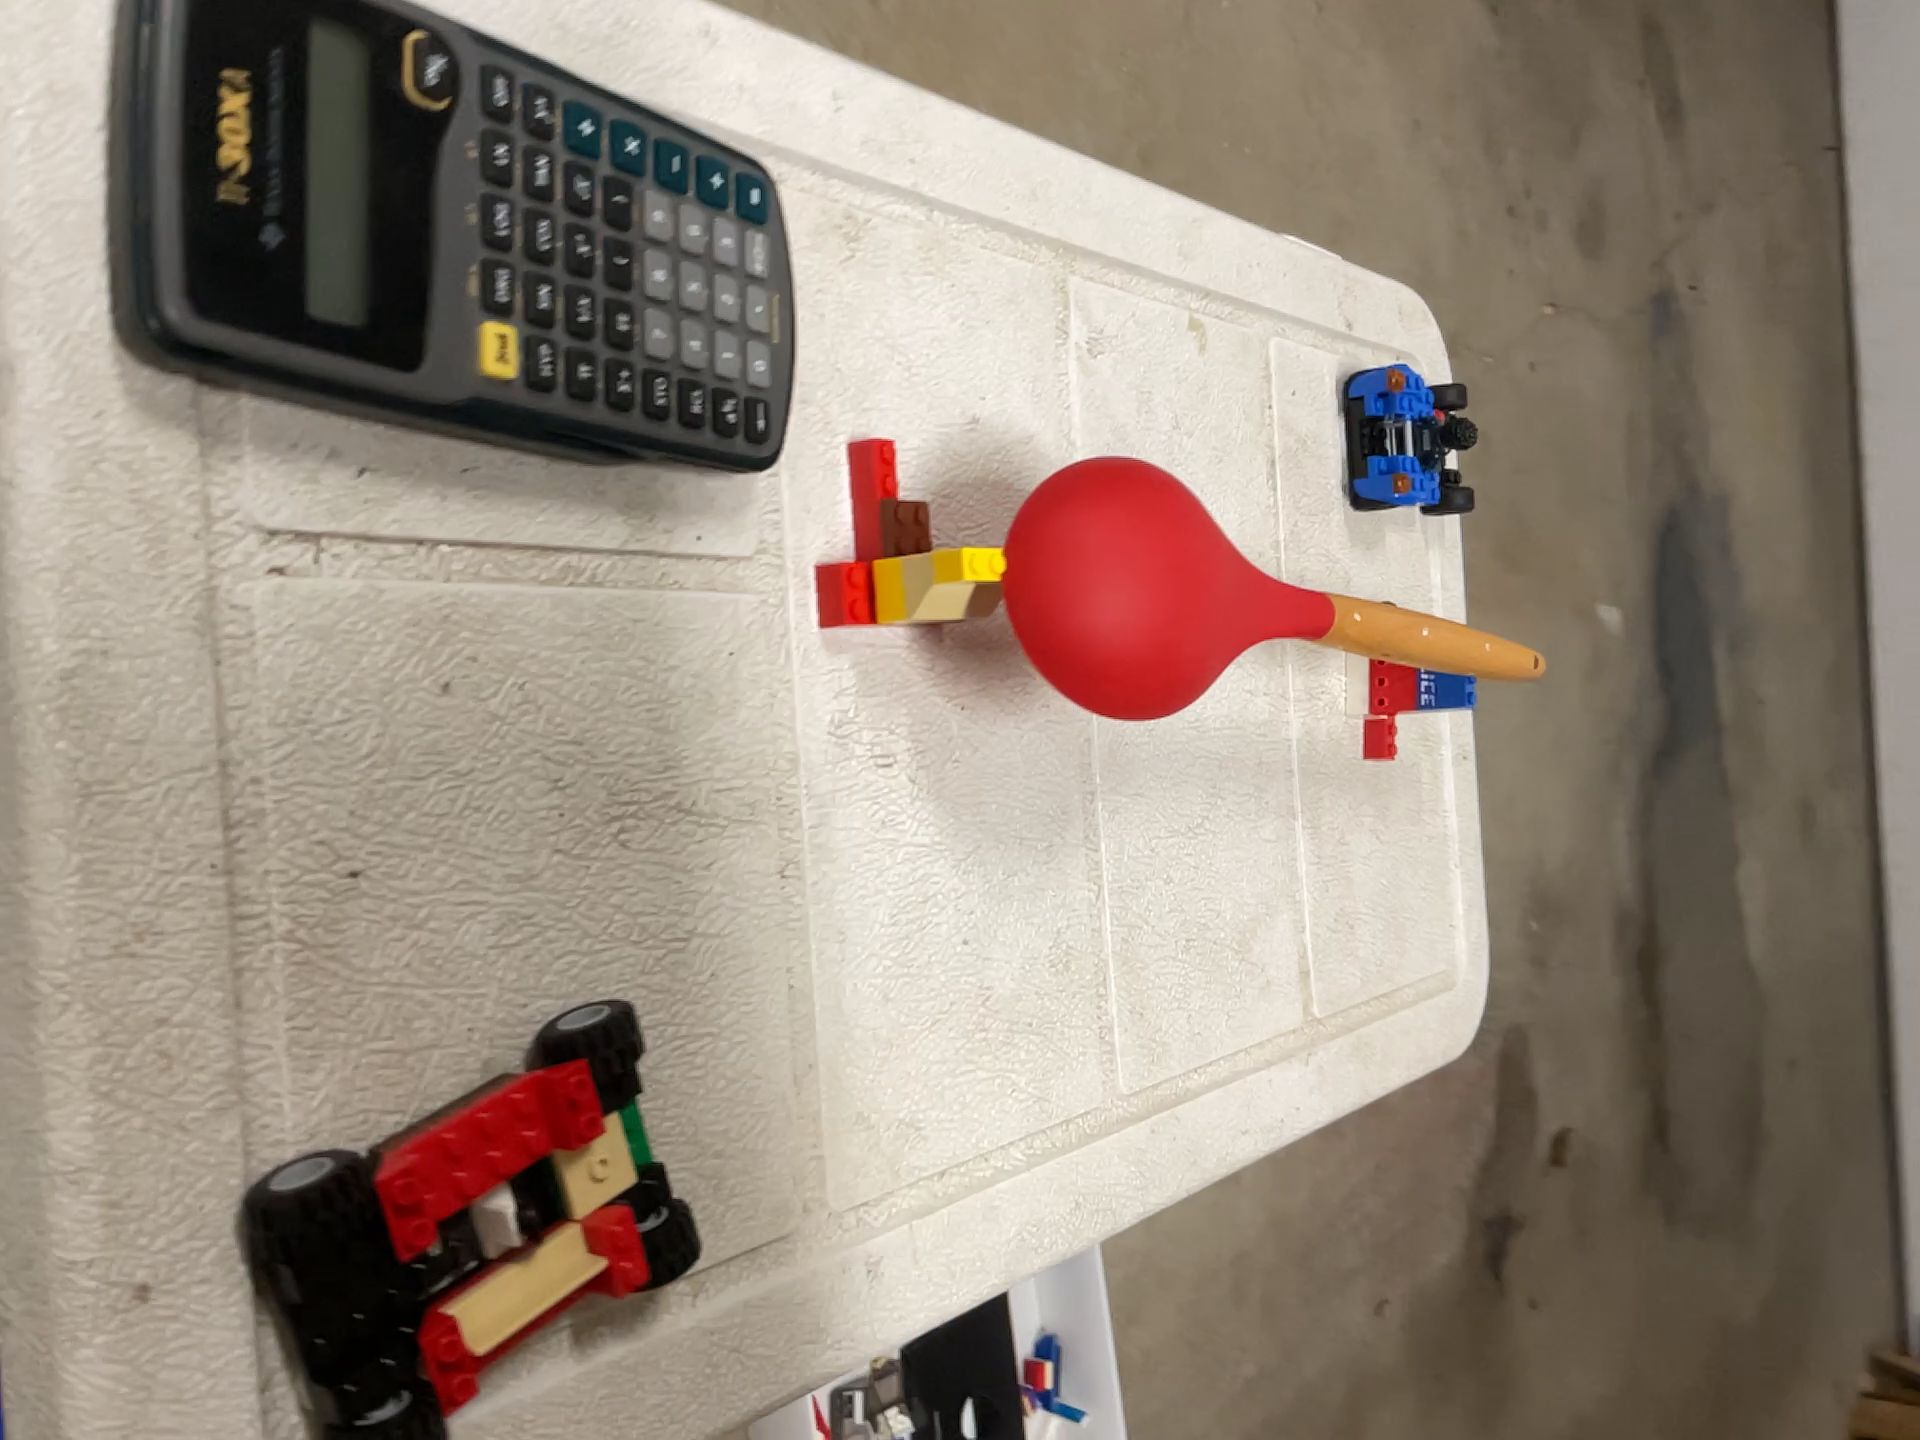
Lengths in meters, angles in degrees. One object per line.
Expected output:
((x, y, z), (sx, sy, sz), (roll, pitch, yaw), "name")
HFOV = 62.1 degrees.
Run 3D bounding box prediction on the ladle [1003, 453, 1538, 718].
((0.121, -0.028, 0.503), (0.315, 0.031, 0.069), (5, 82, -51), "ladle")
